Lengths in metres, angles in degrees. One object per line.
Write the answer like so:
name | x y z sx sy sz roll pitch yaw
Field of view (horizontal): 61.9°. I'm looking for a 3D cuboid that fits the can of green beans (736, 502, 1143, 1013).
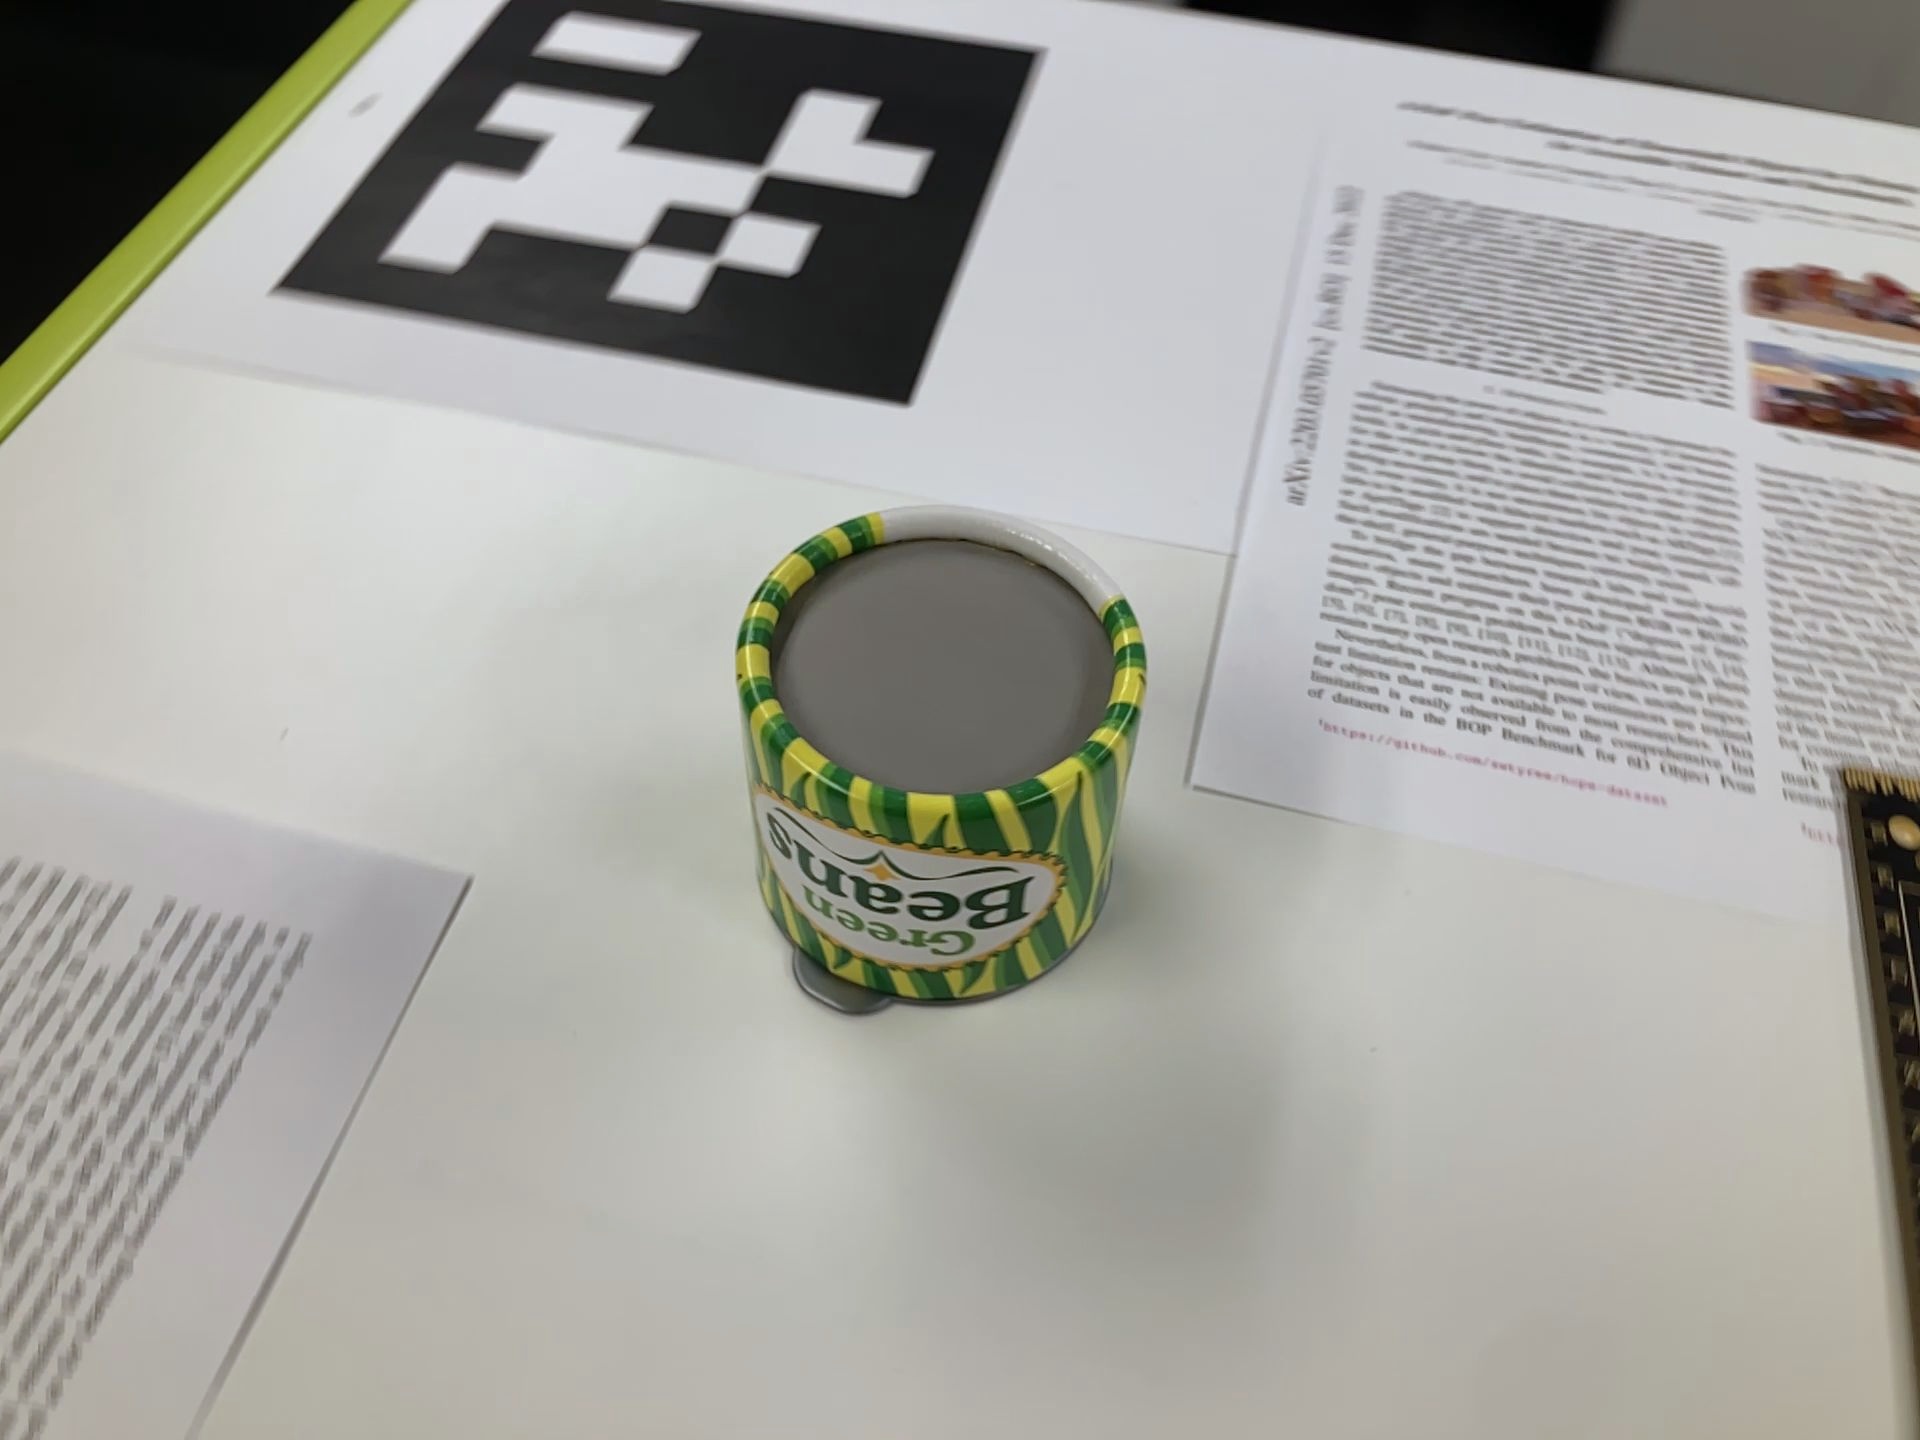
can of green beans | -0.004 0.005 0.277 0.071 0.058 0.071 1 52 -2
